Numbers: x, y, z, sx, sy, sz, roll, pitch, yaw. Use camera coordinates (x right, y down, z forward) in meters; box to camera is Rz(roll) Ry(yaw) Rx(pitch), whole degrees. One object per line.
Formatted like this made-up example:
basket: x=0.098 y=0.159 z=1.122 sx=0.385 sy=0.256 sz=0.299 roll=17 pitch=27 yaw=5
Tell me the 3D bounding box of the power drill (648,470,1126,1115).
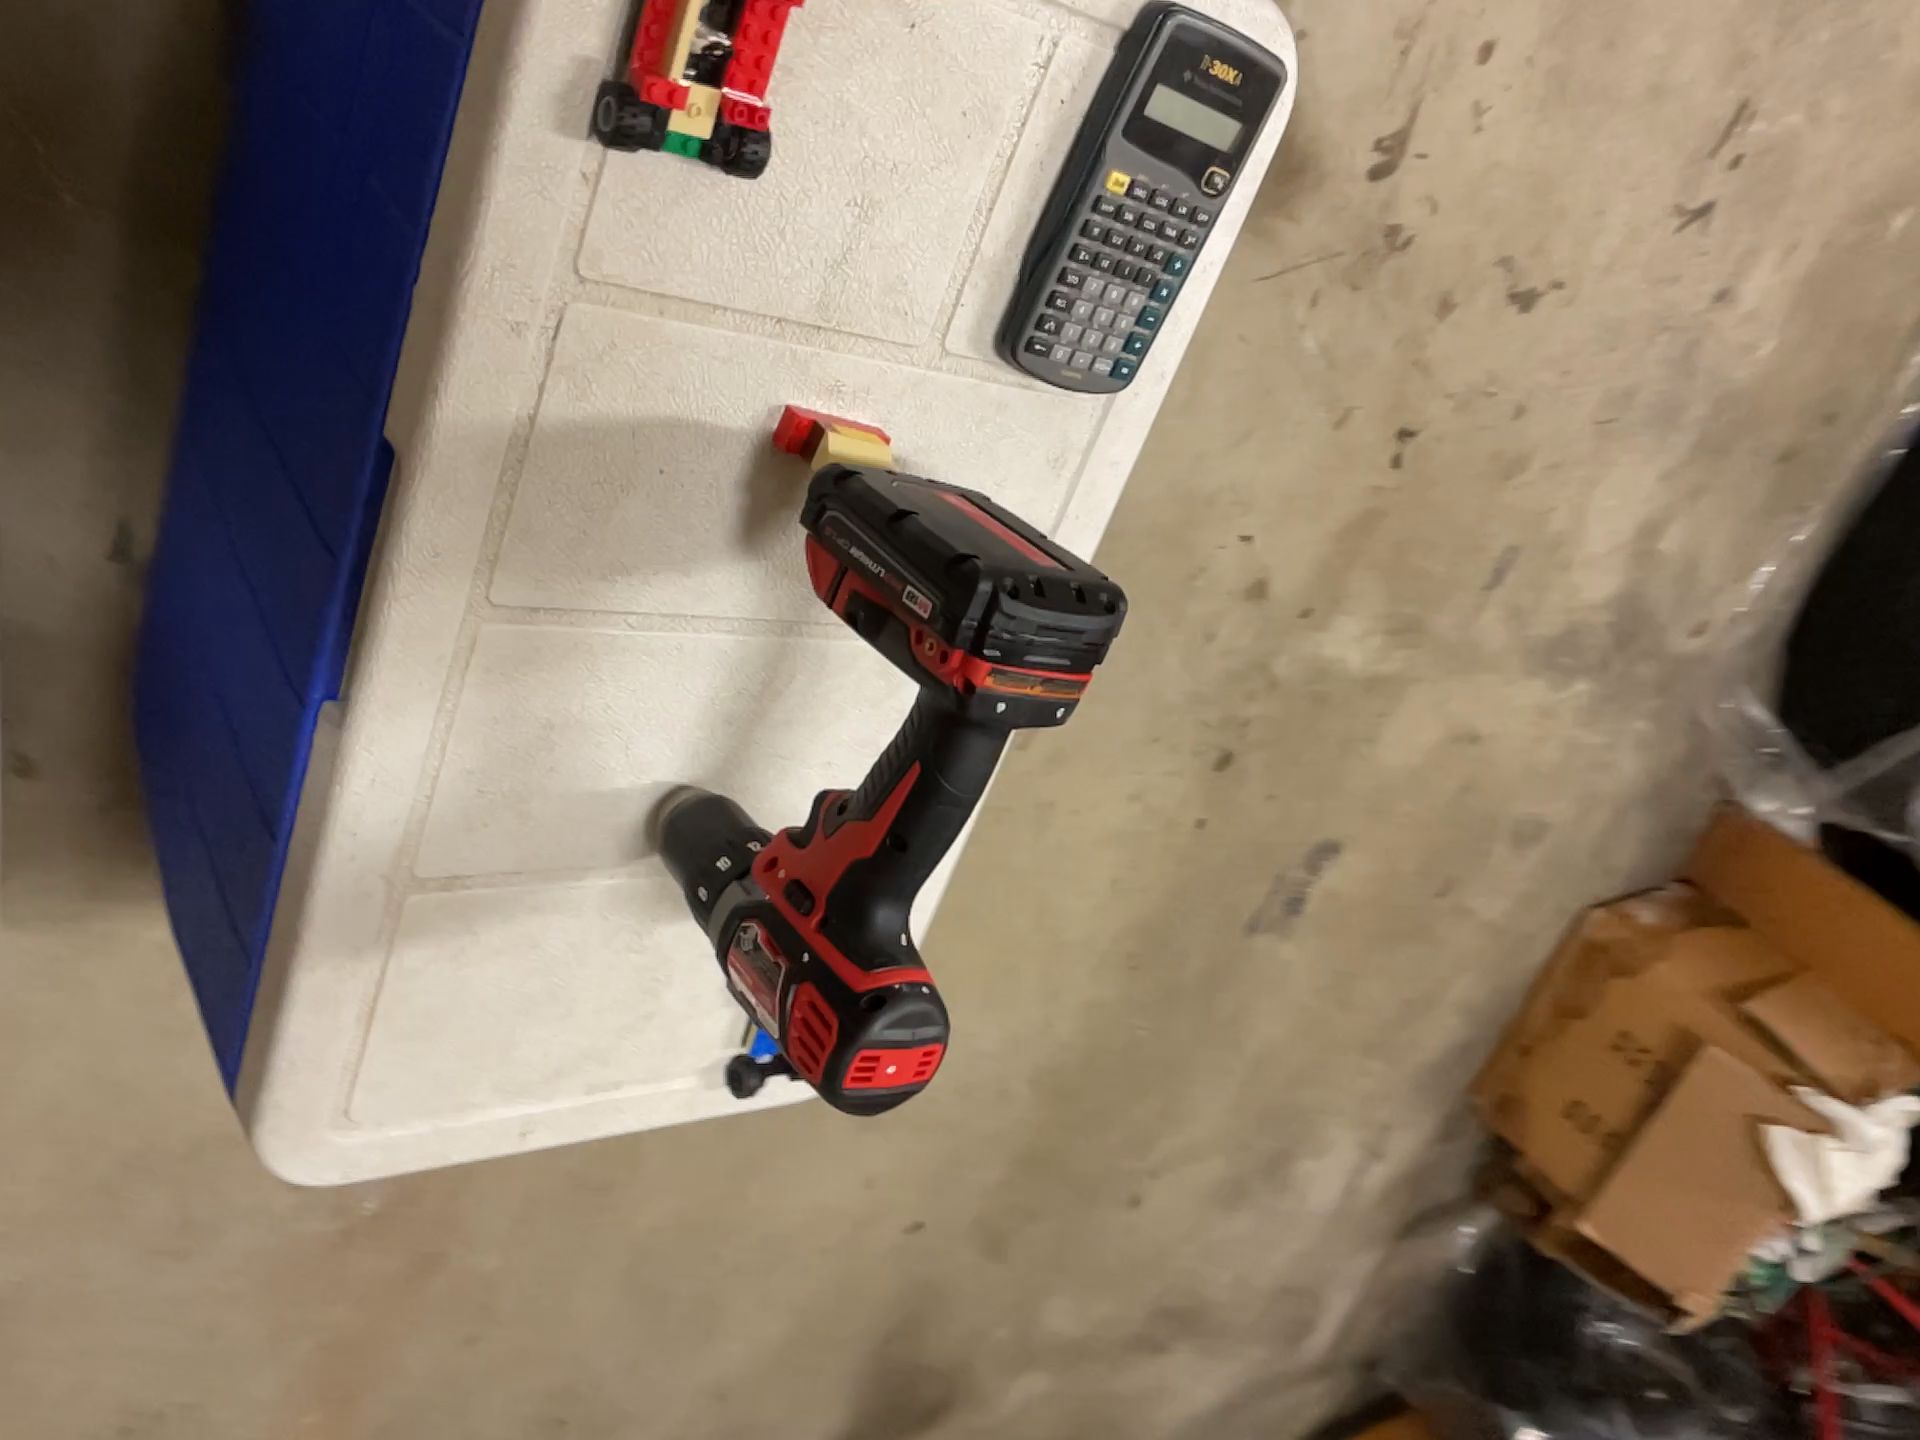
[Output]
power drill: x=-0.047 y=0.017 z=0.641 sx=0.080 sy=0.188 sz=0.226 roll=5 pitch=115 yaw=-43
